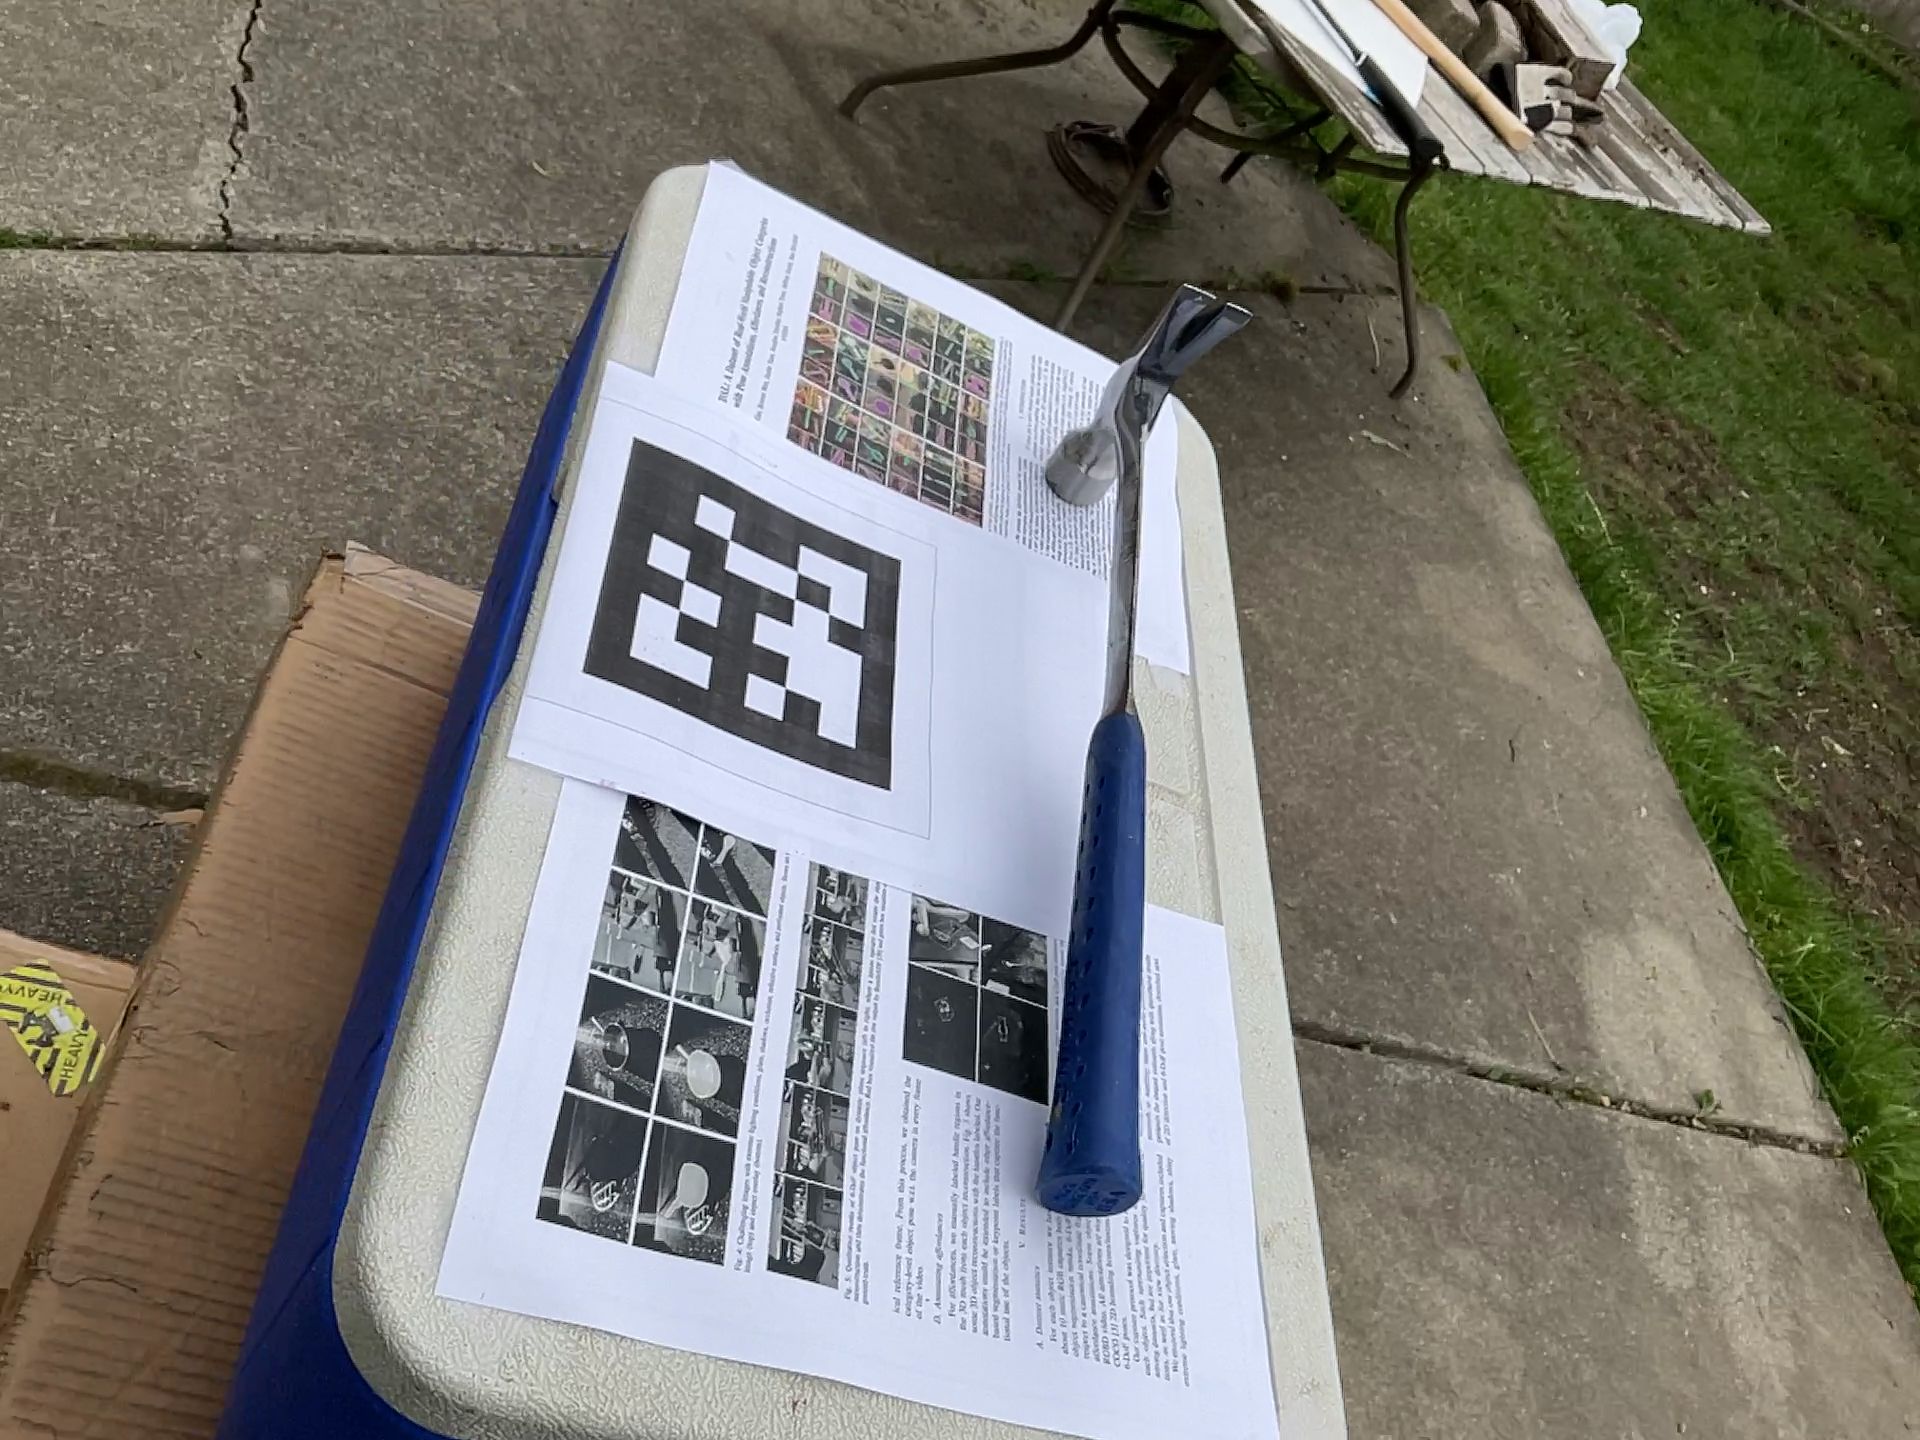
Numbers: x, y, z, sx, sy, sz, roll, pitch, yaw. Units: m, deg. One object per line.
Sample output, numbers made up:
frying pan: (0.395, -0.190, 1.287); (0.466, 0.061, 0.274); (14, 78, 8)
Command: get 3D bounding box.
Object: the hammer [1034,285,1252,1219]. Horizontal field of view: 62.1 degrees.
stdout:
hammer: (0.065, -0.007, 0.642); (0.035, 0.144, 0.405); (19, 52, -15)
